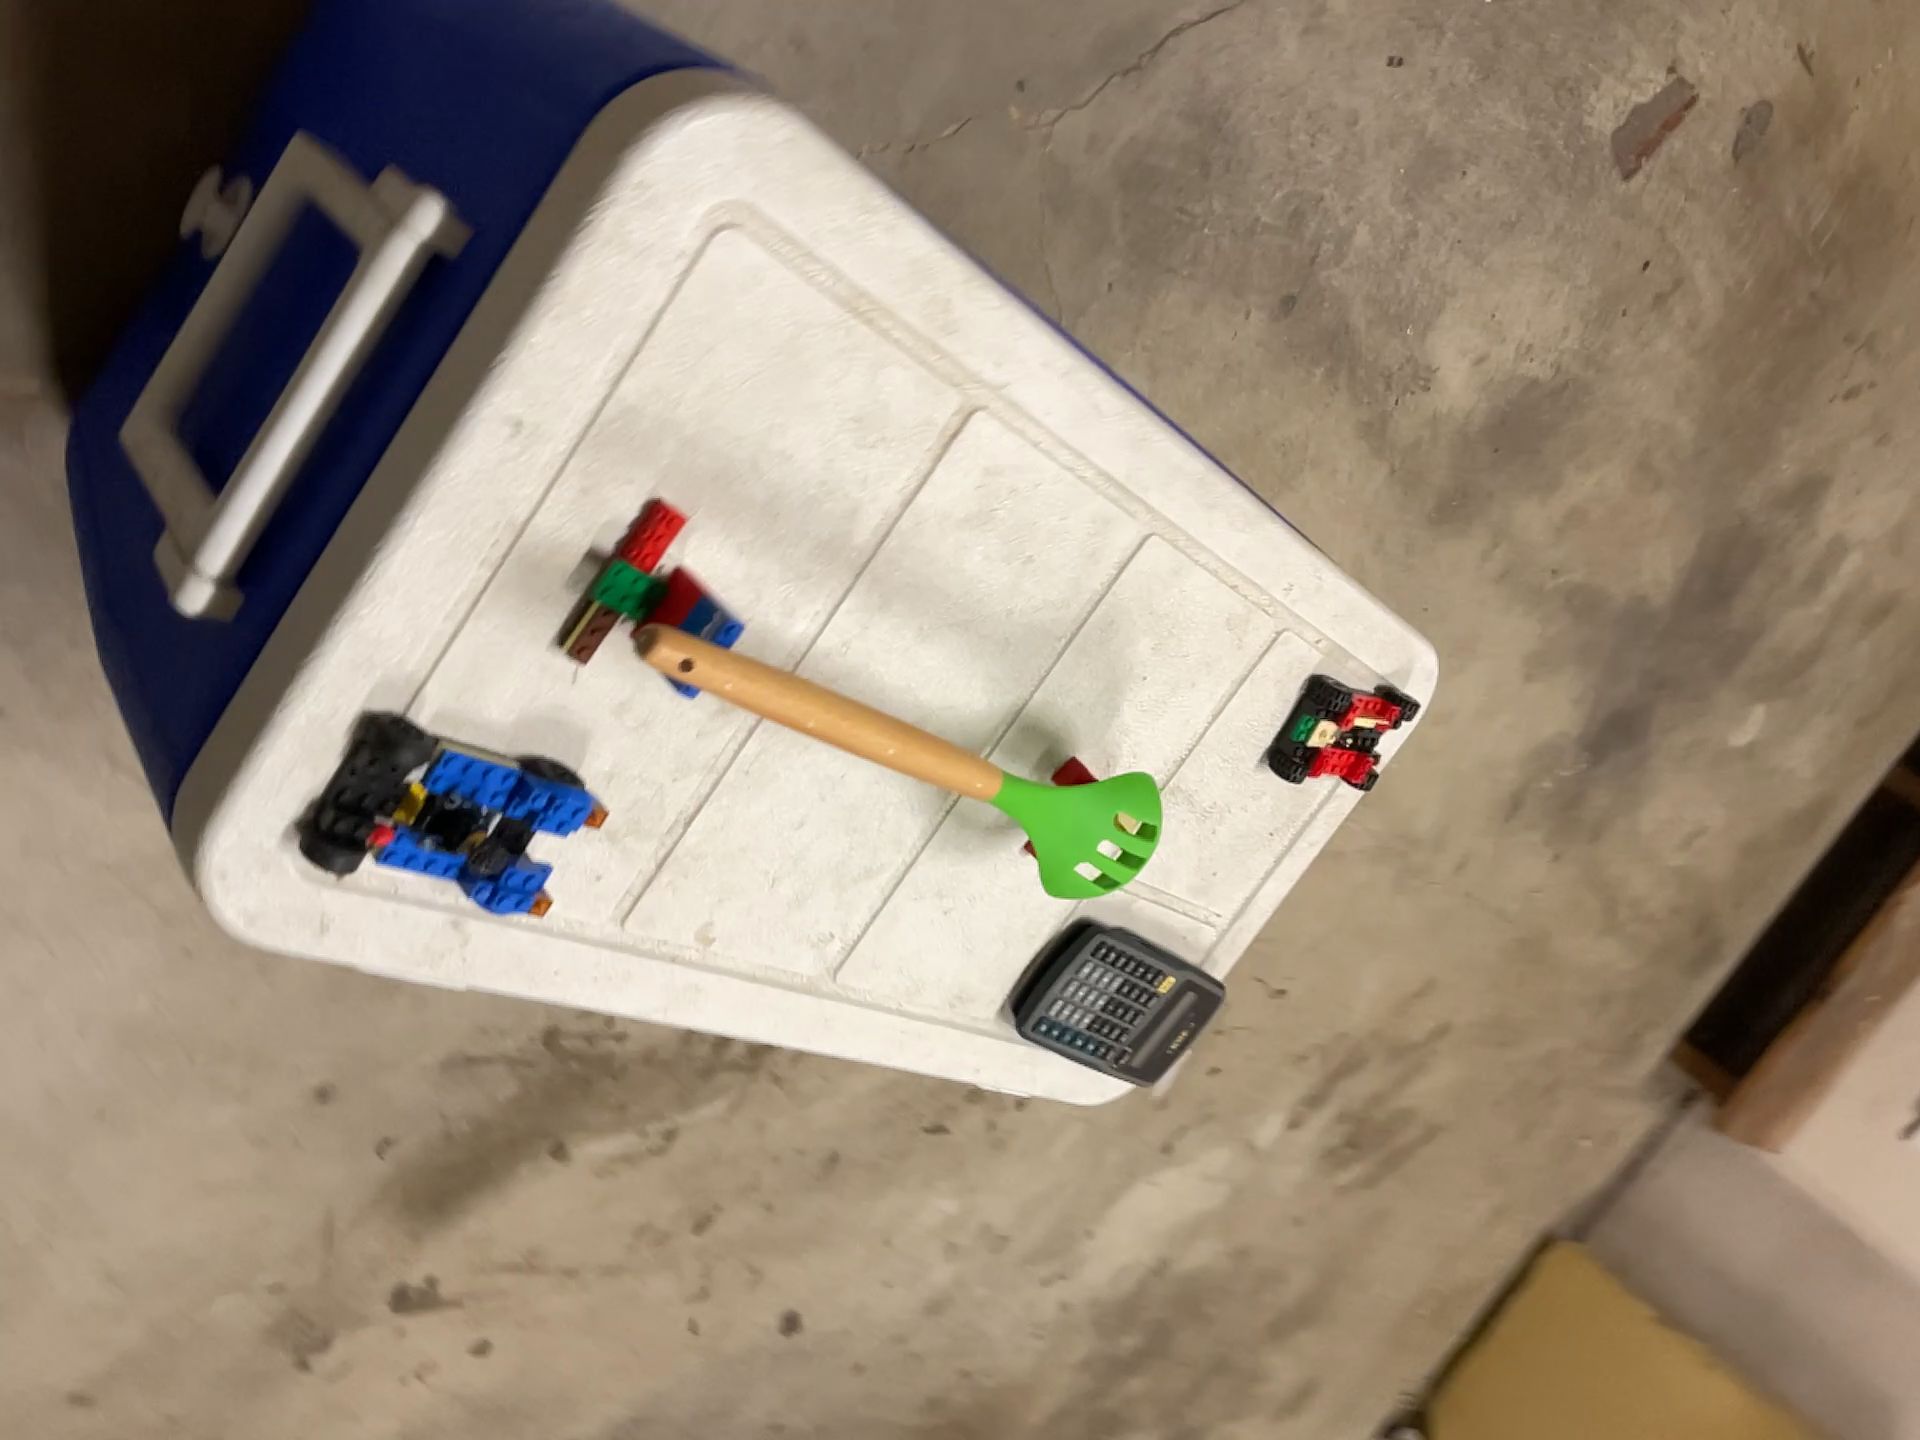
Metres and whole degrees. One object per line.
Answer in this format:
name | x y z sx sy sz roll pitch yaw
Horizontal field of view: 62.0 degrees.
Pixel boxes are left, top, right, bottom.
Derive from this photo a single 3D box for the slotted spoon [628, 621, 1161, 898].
slotted spoon | -0.007 0.019 0.618 0.313 0.031 0.070 25 104 -48
